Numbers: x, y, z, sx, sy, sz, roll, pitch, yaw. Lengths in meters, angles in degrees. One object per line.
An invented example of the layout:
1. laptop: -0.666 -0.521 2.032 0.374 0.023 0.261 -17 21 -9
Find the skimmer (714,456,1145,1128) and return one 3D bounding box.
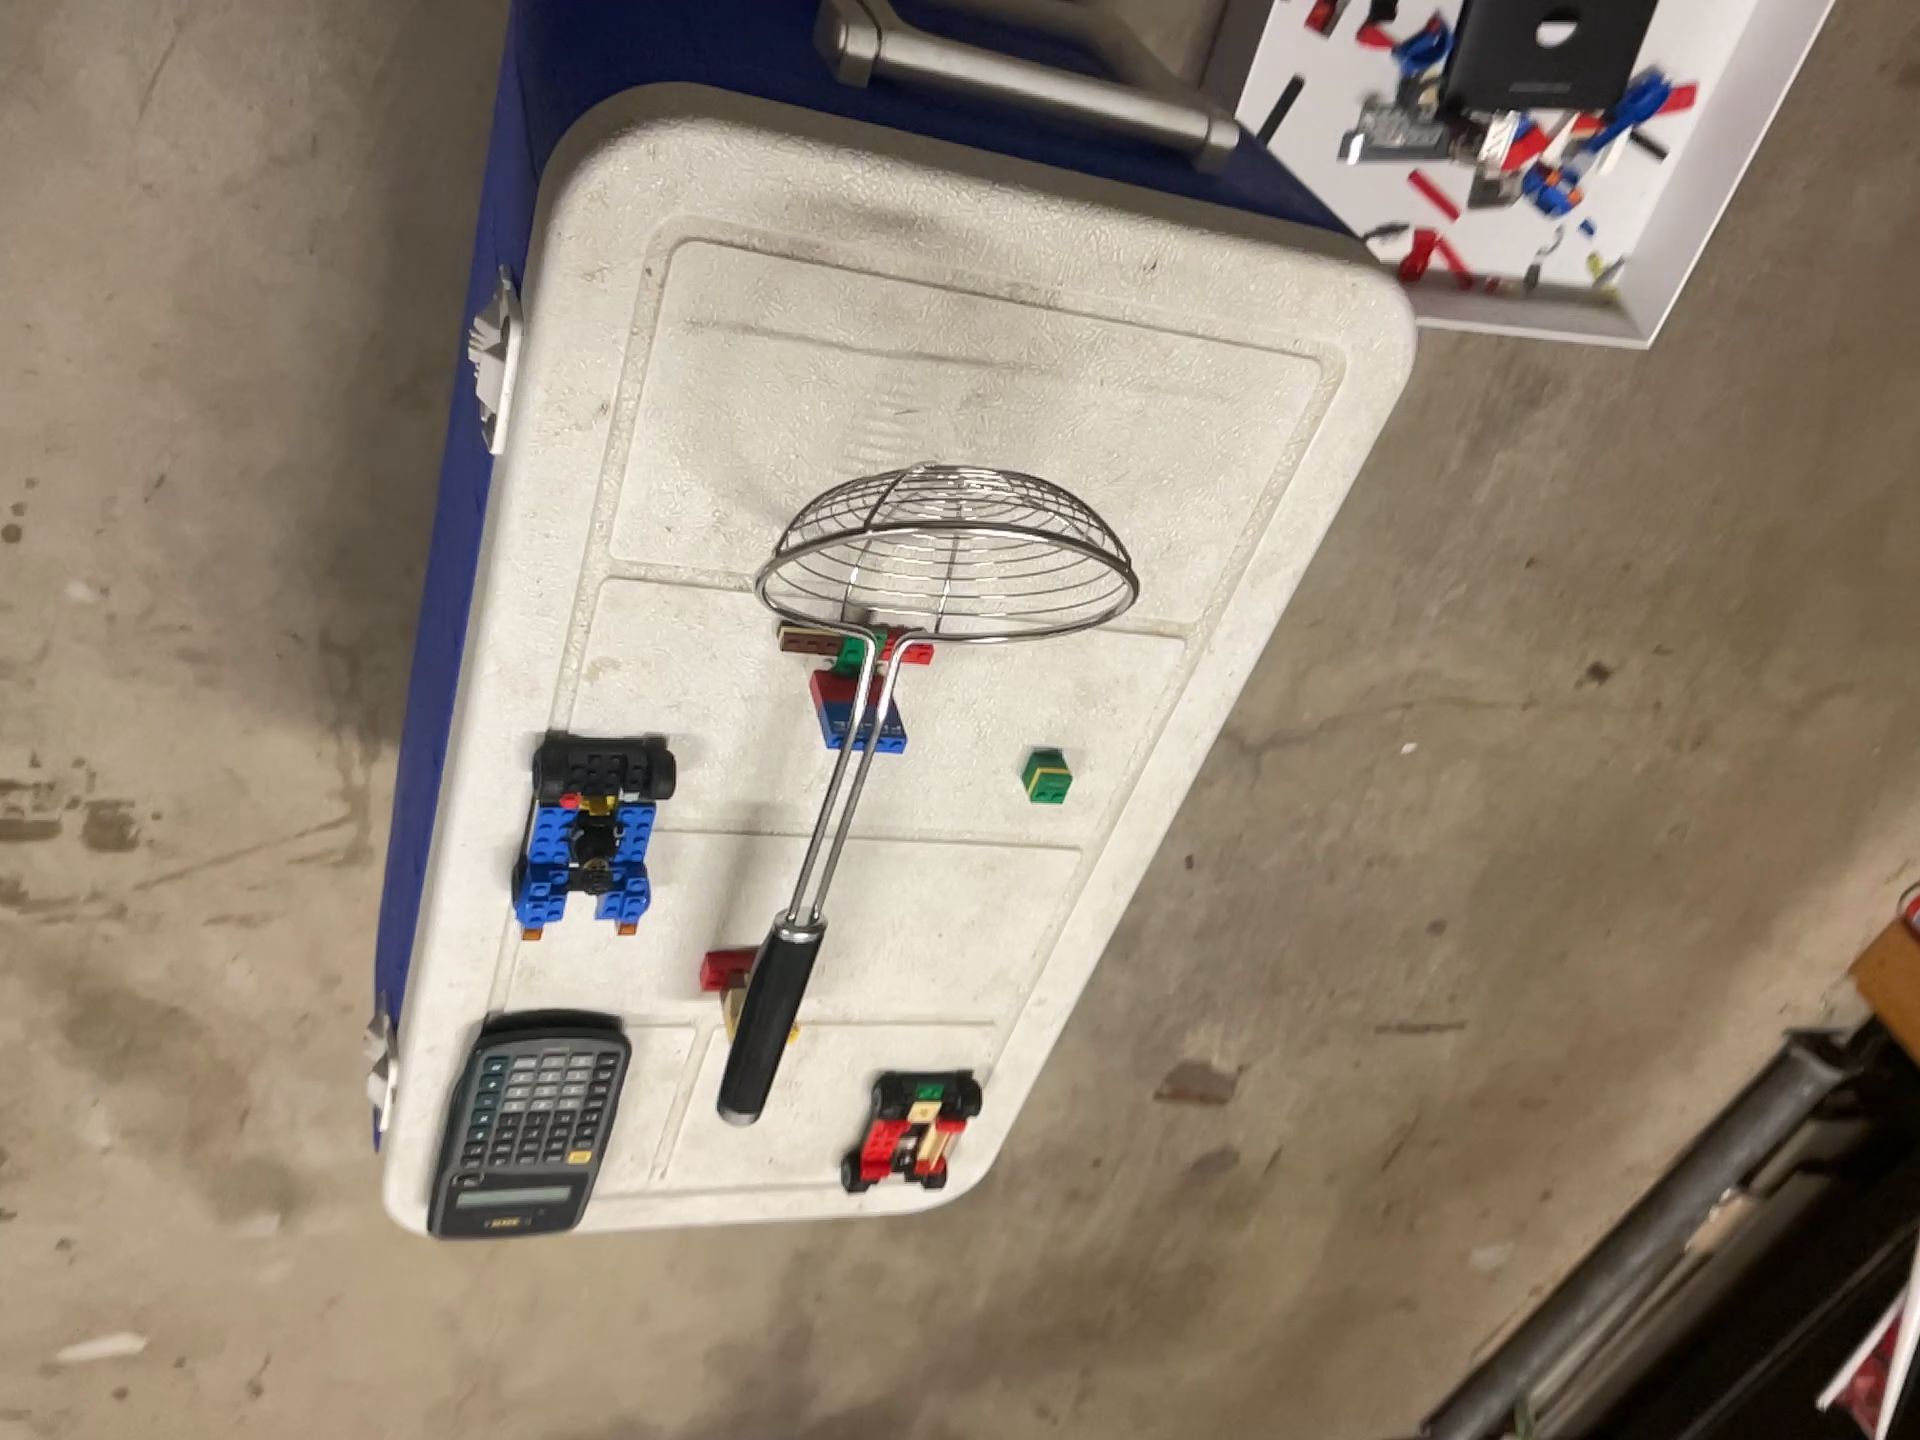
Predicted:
1. skimmer: -0.042 0.055 0.594 0.127 0.090 0.362 5 127 -21
